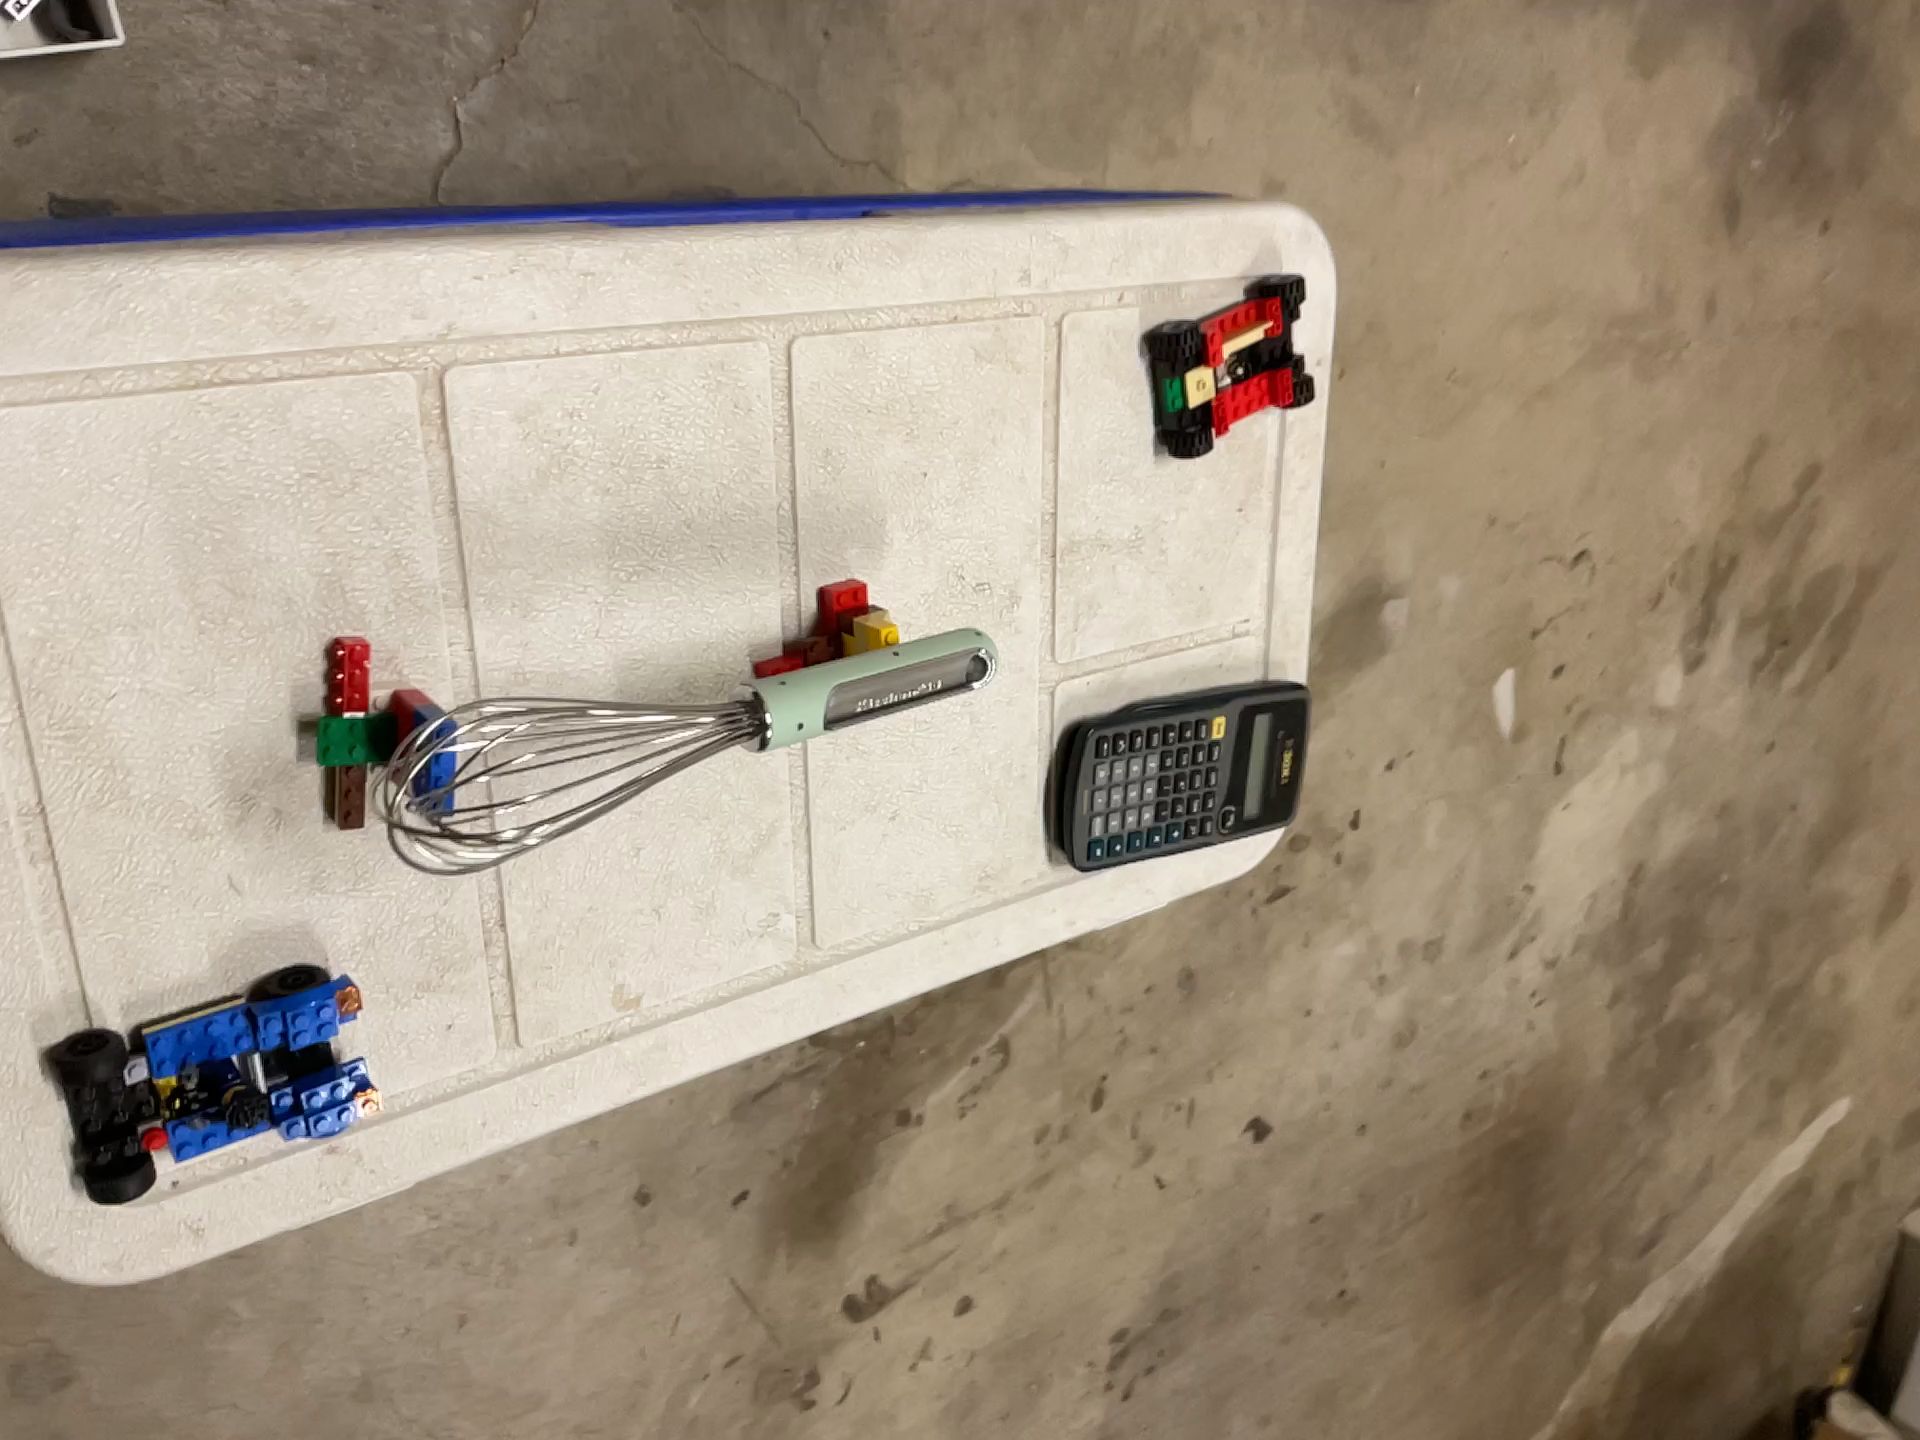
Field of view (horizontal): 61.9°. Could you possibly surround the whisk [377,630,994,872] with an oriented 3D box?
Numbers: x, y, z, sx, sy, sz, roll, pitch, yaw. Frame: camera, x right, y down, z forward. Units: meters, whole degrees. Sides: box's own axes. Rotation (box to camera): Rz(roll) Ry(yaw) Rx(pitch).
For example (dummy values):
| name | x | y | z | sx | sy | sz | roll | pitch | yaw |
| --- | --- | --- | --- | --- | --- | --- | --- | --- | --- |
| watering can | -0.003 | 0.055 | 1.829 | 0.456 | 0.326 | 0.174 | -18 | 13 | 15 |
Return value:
| name | x | y | z | sx | sy | sz | roll | pitch | yaw |
| --- | --- | --- | --- | --- | --- | --- | --- | --- | --- |
| whisk | -0.080 | 0.002 | 0.552 | 0.246 | 0.059 | 0.057 | -17 | 123 | -40 |
